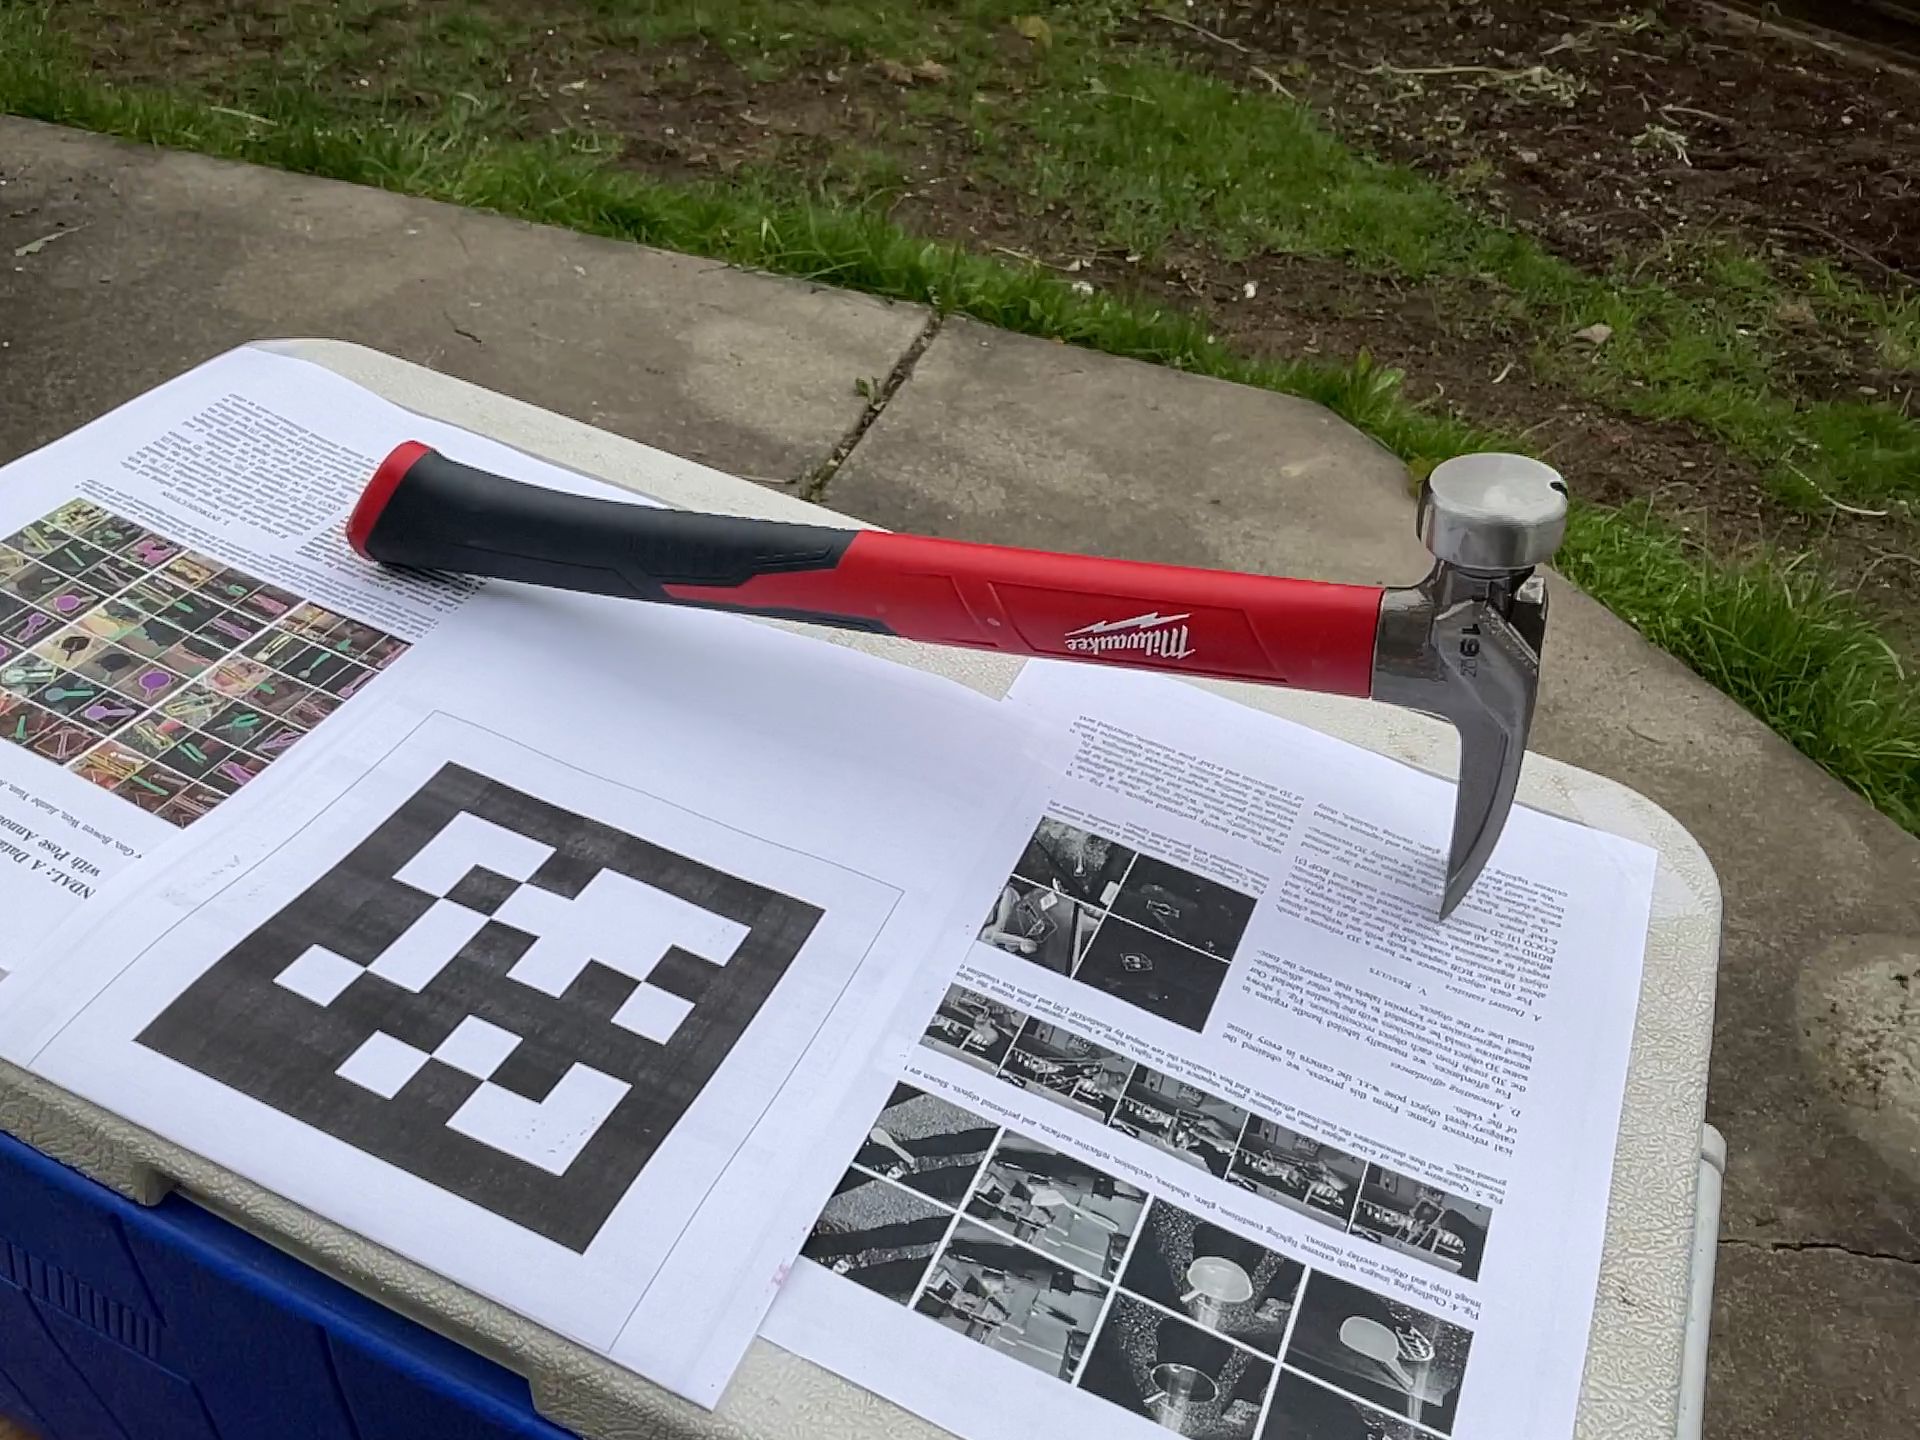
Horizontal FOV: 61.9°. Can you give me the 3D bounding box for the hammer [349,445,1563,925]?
[{"bbox_3d":[-0.021,-0.029,0.513,0.386,0.143,0.038,9,38,17],"label":"hammer"}]
